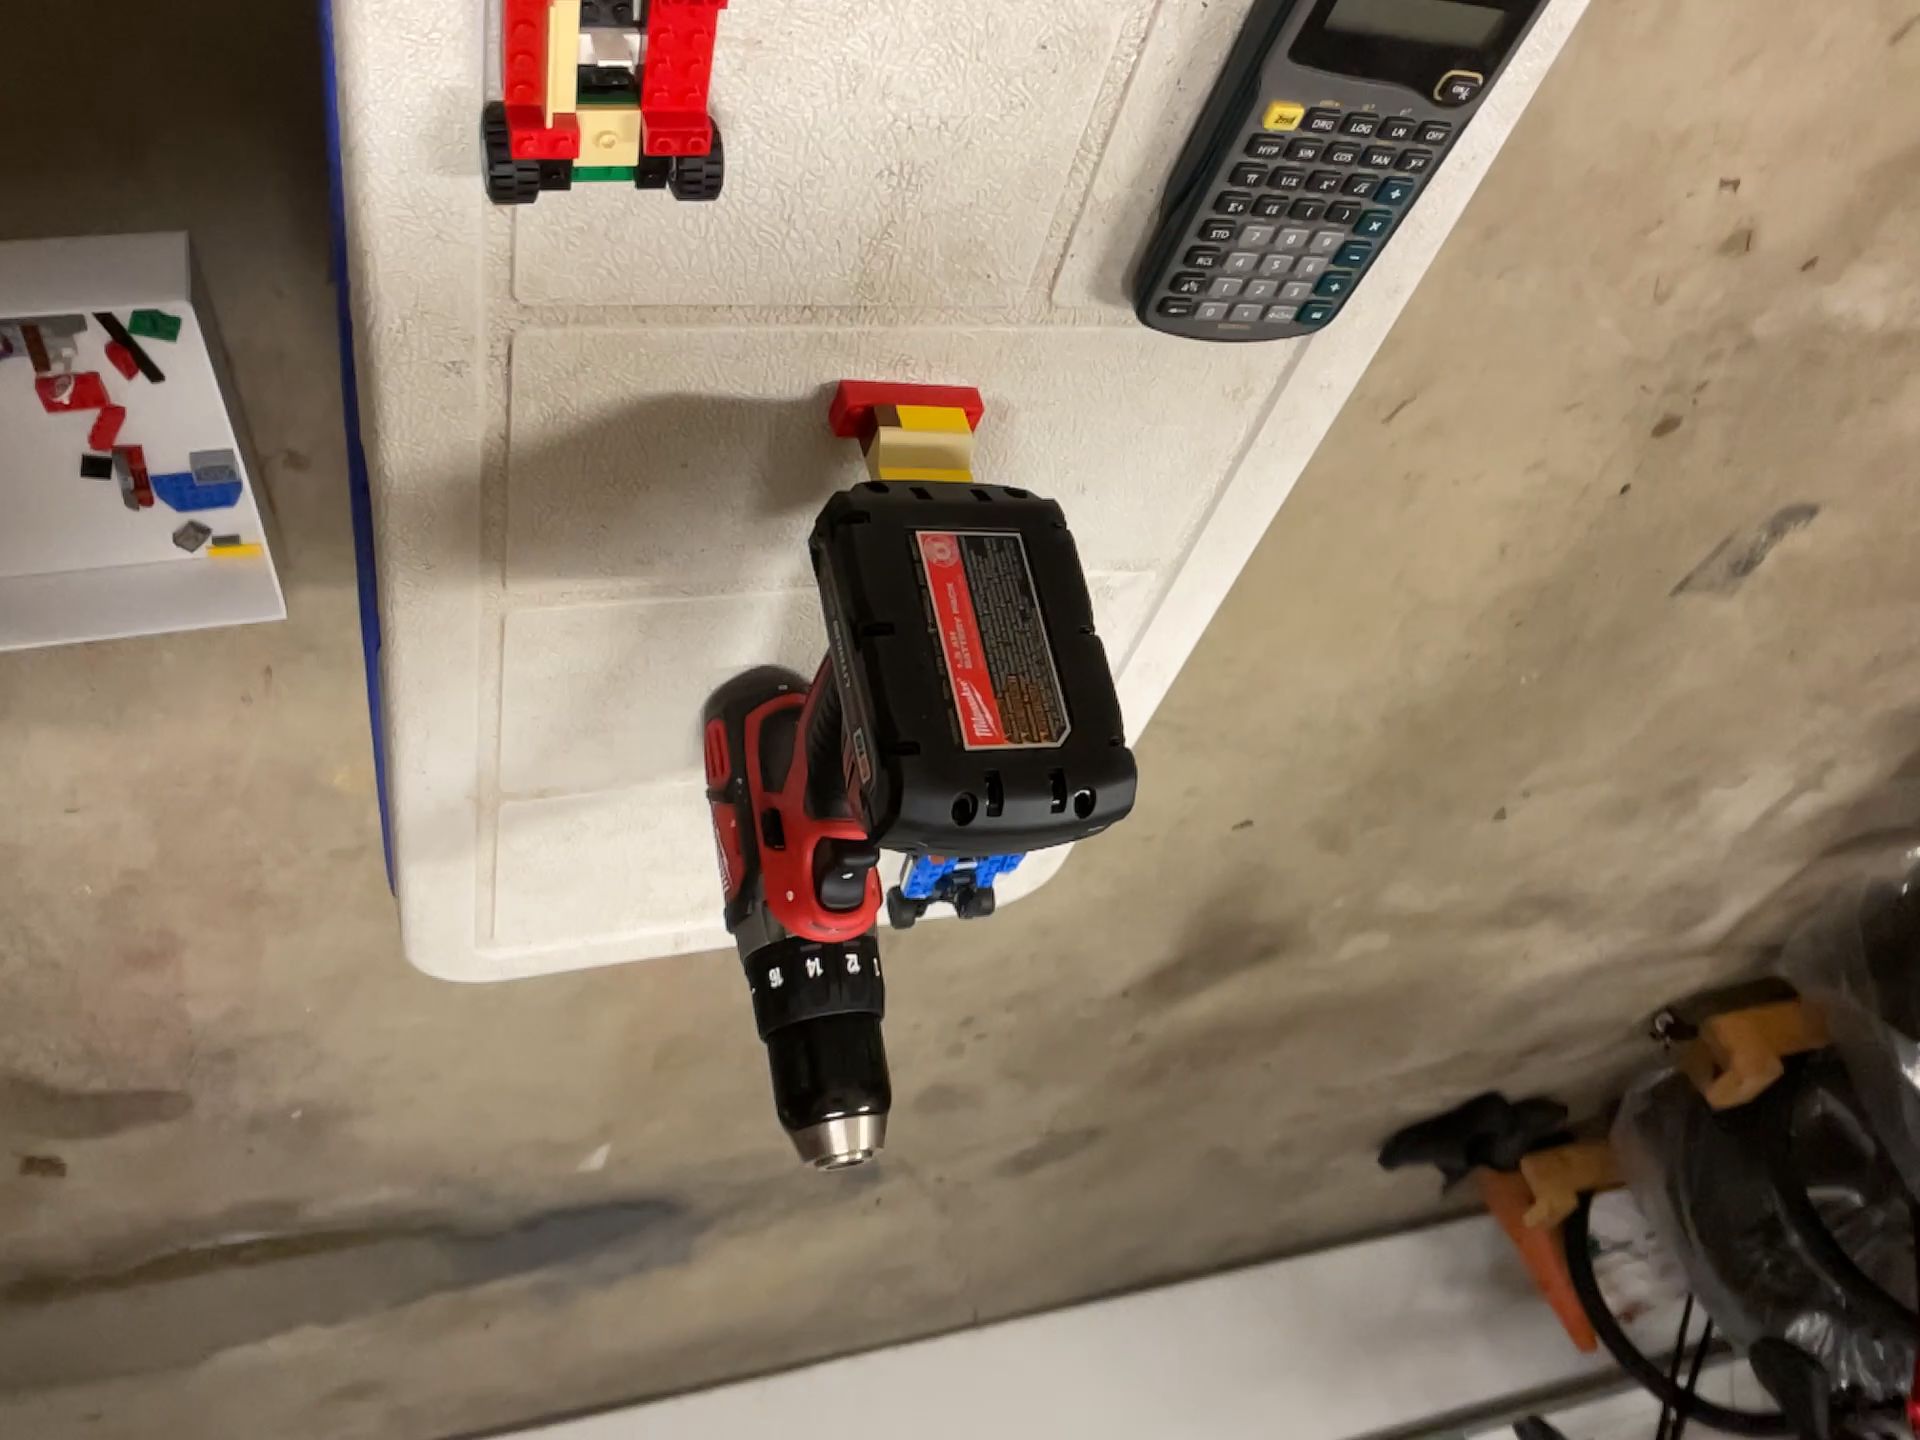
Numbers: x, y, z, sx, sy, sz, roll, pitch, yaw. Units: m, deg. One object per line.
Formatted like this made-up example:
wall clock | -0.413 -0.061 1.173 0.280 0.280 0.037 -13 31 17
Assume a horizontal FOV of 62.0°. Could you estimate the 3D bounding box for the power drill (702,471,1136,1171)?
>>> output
power drill | -0.030 0.041 0.547 0.080 0.188 0.226 -1 155 -25
